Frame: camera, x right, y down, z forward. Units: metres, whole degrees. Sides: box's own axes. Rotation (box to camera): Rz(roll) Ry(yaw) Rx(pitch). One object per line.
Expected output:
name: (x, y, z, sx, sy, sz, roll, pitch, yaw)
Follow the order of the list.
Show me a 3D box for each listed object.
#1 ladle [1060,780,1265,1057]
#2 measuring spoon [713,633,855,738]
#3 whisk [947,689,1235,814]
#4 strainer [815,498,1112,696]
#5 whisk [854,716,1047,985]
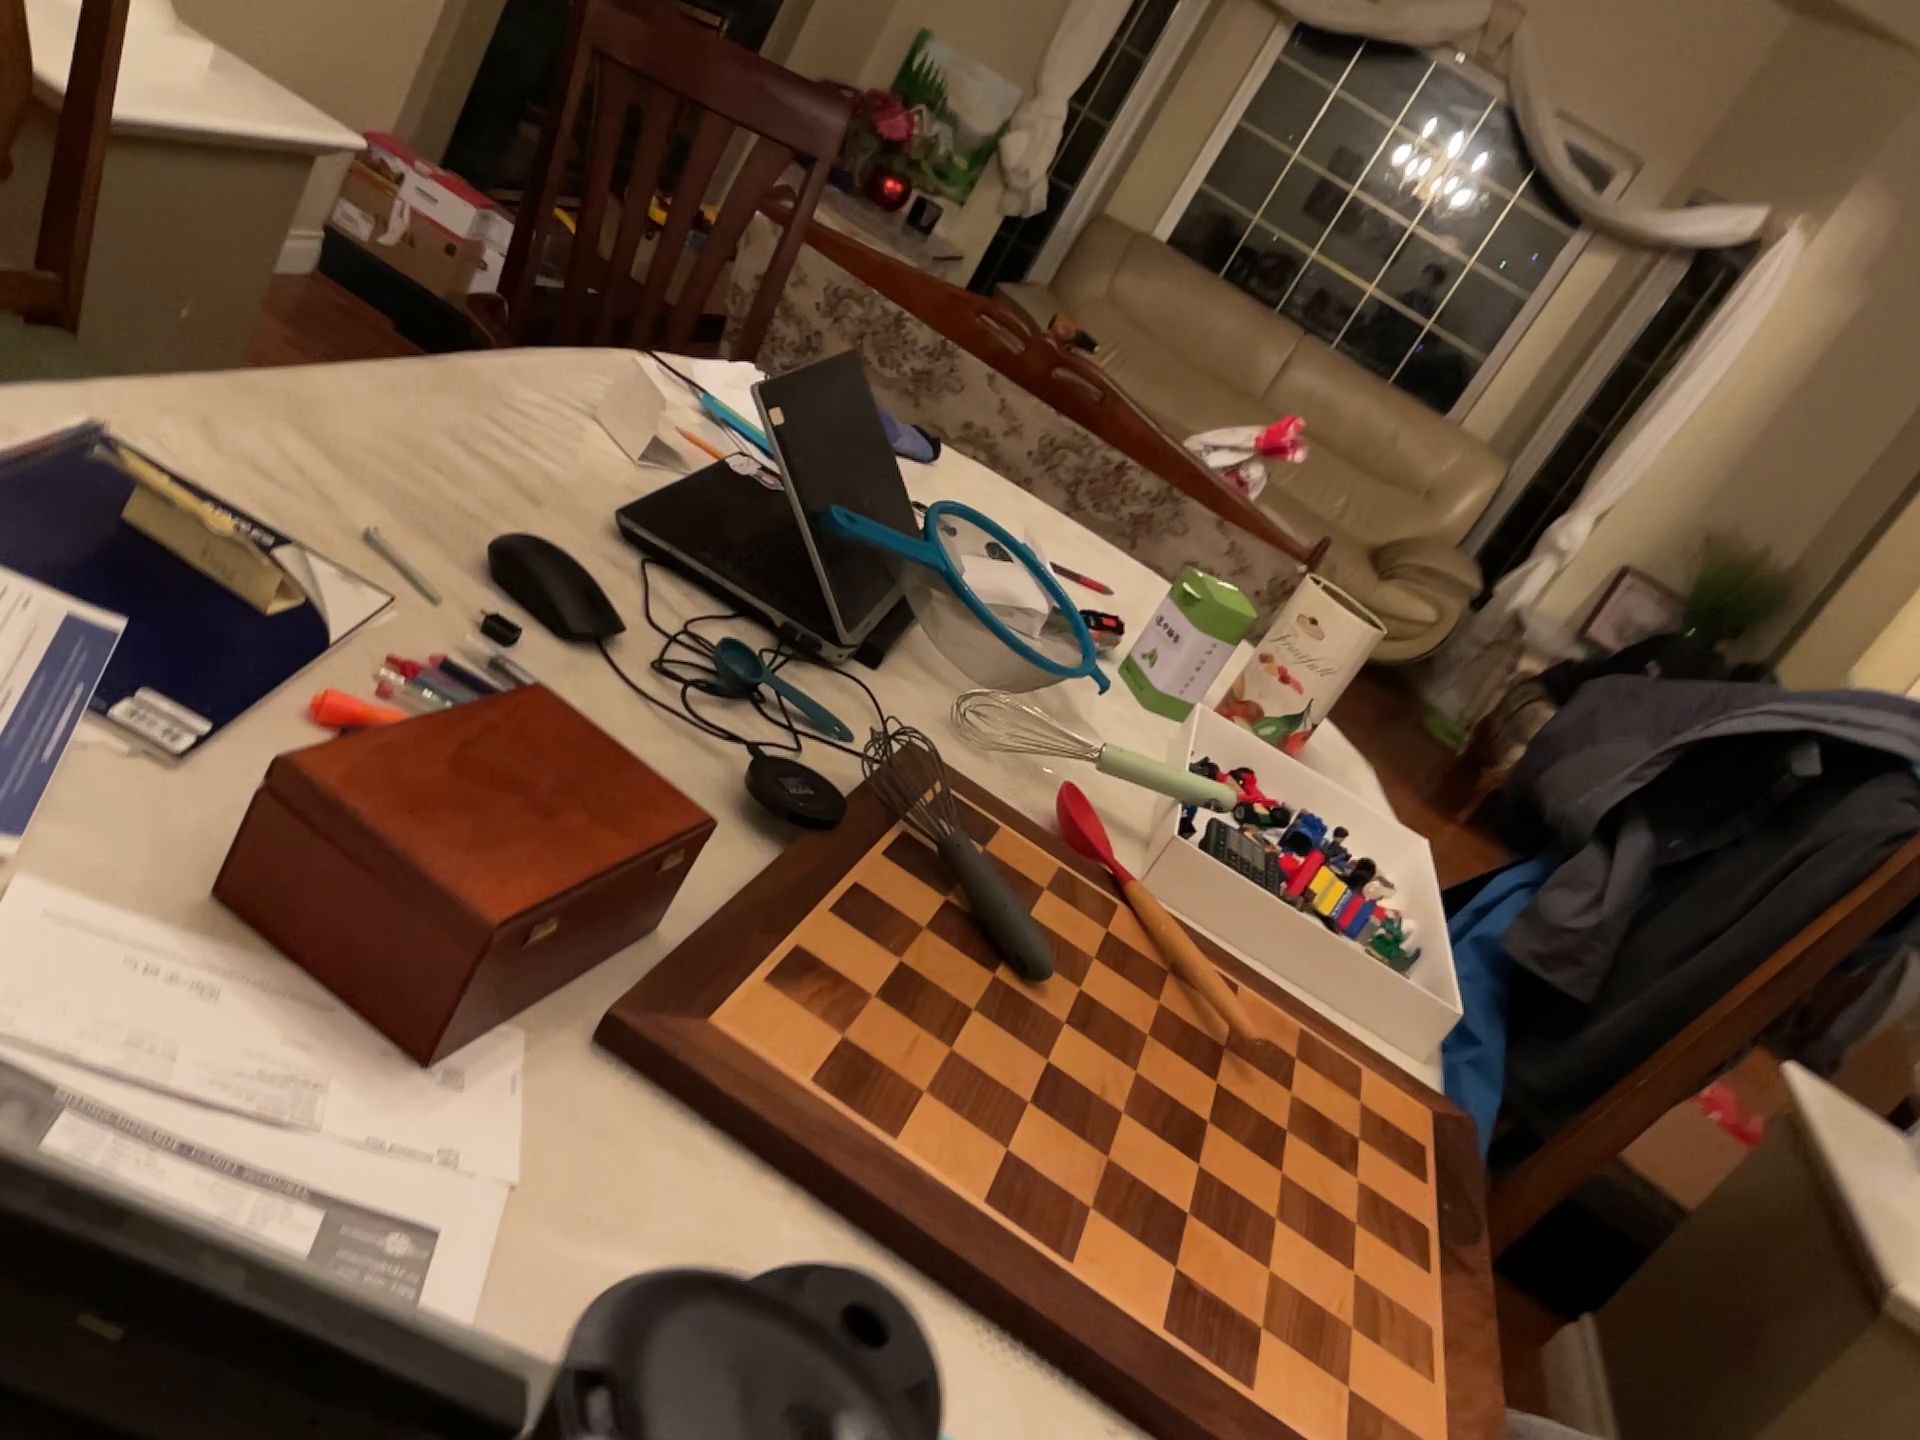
ladle: (0.138, 0.136, 1.134, 0.069, 0.031, 0.316, 45, 6, -34)
measuring spoon: (-0.132, -0.018, 1.169, 0.128, 0.021, 0.042, 36, 25, -24)
whisk: (0.106, 0.027, 1.301, 0.246, 0.057, 0.059, 19, 50, 6)
strainer: (-0.022, -0.107, 1.400, 0.339, 0.095, 0.211, 17, 38, -47)
whisk: (-0.007, 0.082, 1.038, 0.055, 0.055, 0.239, -2, 41, -34)
